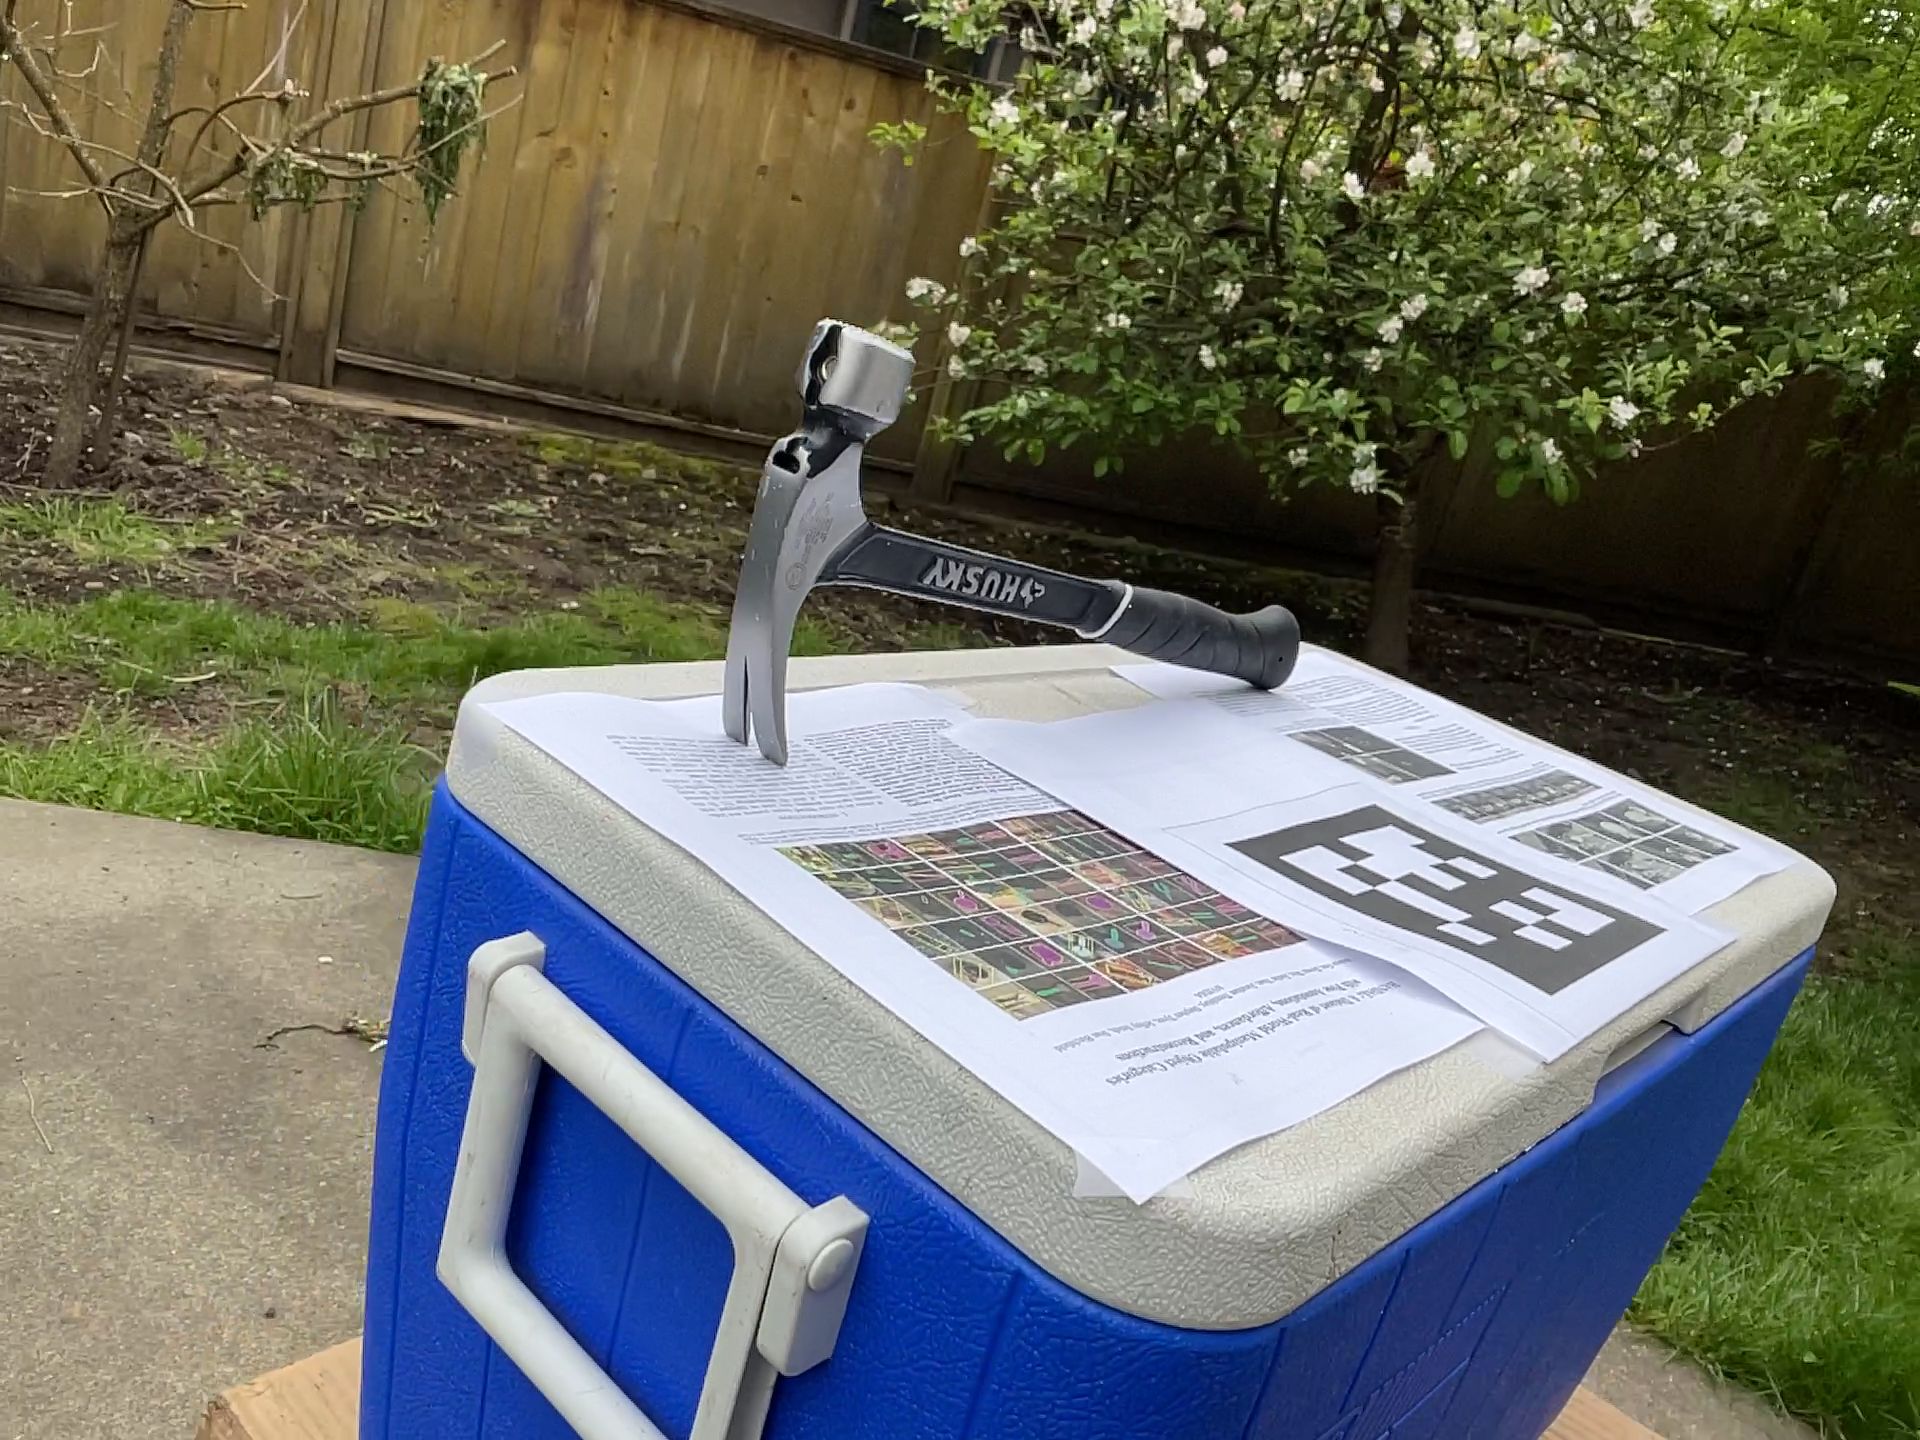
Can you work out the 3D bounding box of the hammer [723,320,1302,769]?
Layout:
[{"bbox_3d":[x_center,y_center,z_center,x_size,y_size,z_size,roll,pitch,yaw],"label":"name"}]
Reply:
[{"bbox_3d":[0.052,-0.044,0.689,0.036,0.149,0.408,27,11,34],"label":"hammer"}]
